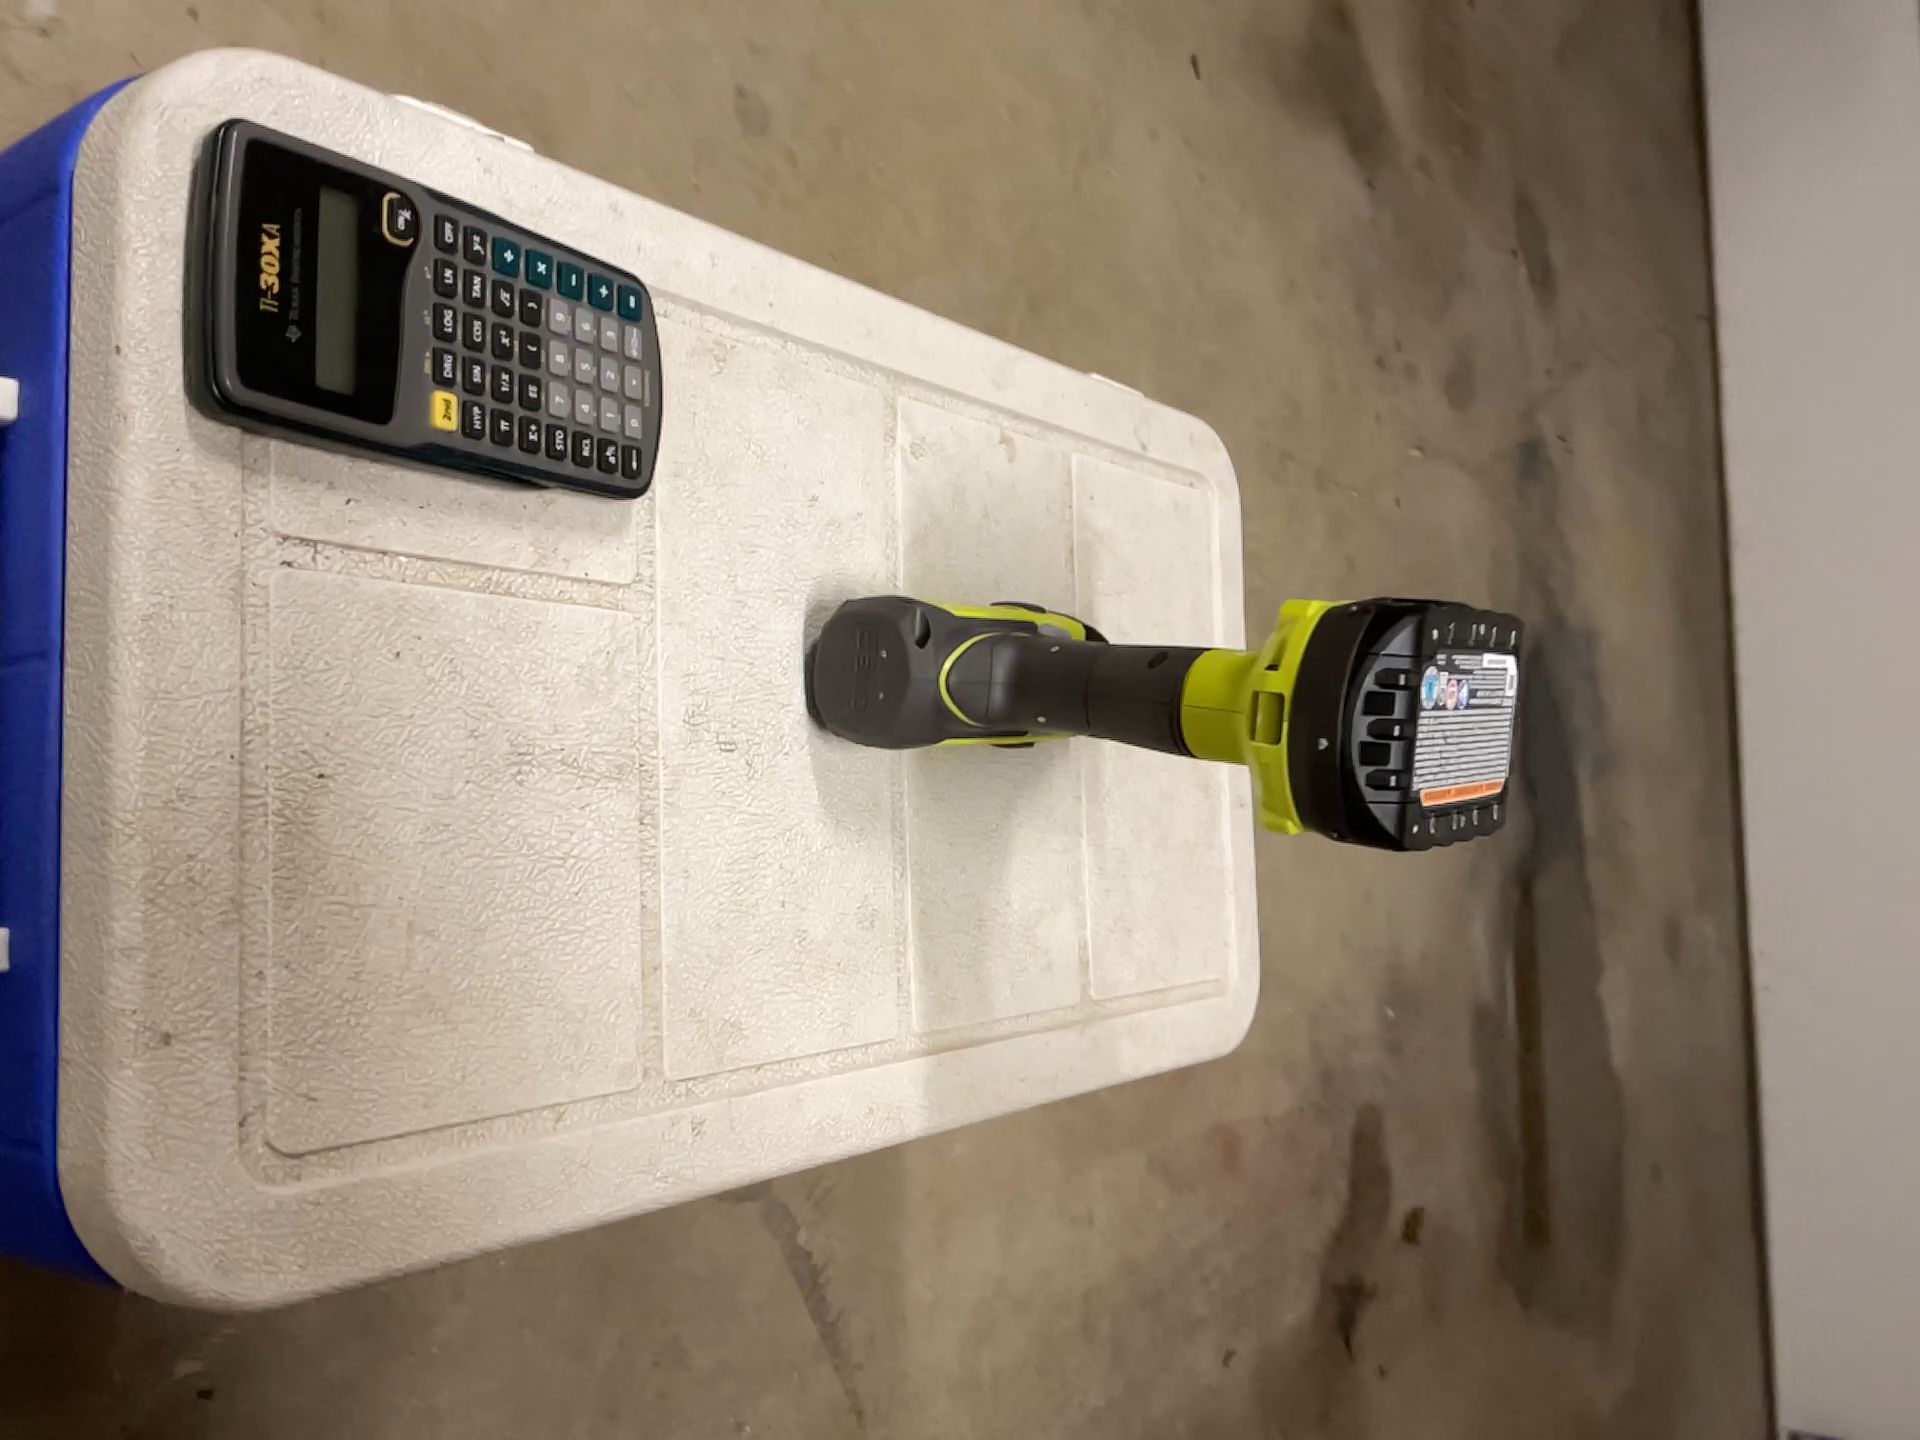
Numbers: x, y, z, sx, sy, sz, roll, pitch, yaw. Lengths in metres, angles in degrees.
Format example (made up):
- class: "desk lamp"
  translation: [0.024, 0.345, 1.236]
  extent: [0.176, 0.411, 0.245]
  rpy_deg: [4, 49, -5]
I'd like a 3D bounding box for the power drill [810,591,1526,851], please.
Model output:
- class: "power drill"
  translation: [0.081, -0.010, 0.587]
  extent: [0.171, 0.223, 0.080]
  rpy_deg: [0, 96, -53]
